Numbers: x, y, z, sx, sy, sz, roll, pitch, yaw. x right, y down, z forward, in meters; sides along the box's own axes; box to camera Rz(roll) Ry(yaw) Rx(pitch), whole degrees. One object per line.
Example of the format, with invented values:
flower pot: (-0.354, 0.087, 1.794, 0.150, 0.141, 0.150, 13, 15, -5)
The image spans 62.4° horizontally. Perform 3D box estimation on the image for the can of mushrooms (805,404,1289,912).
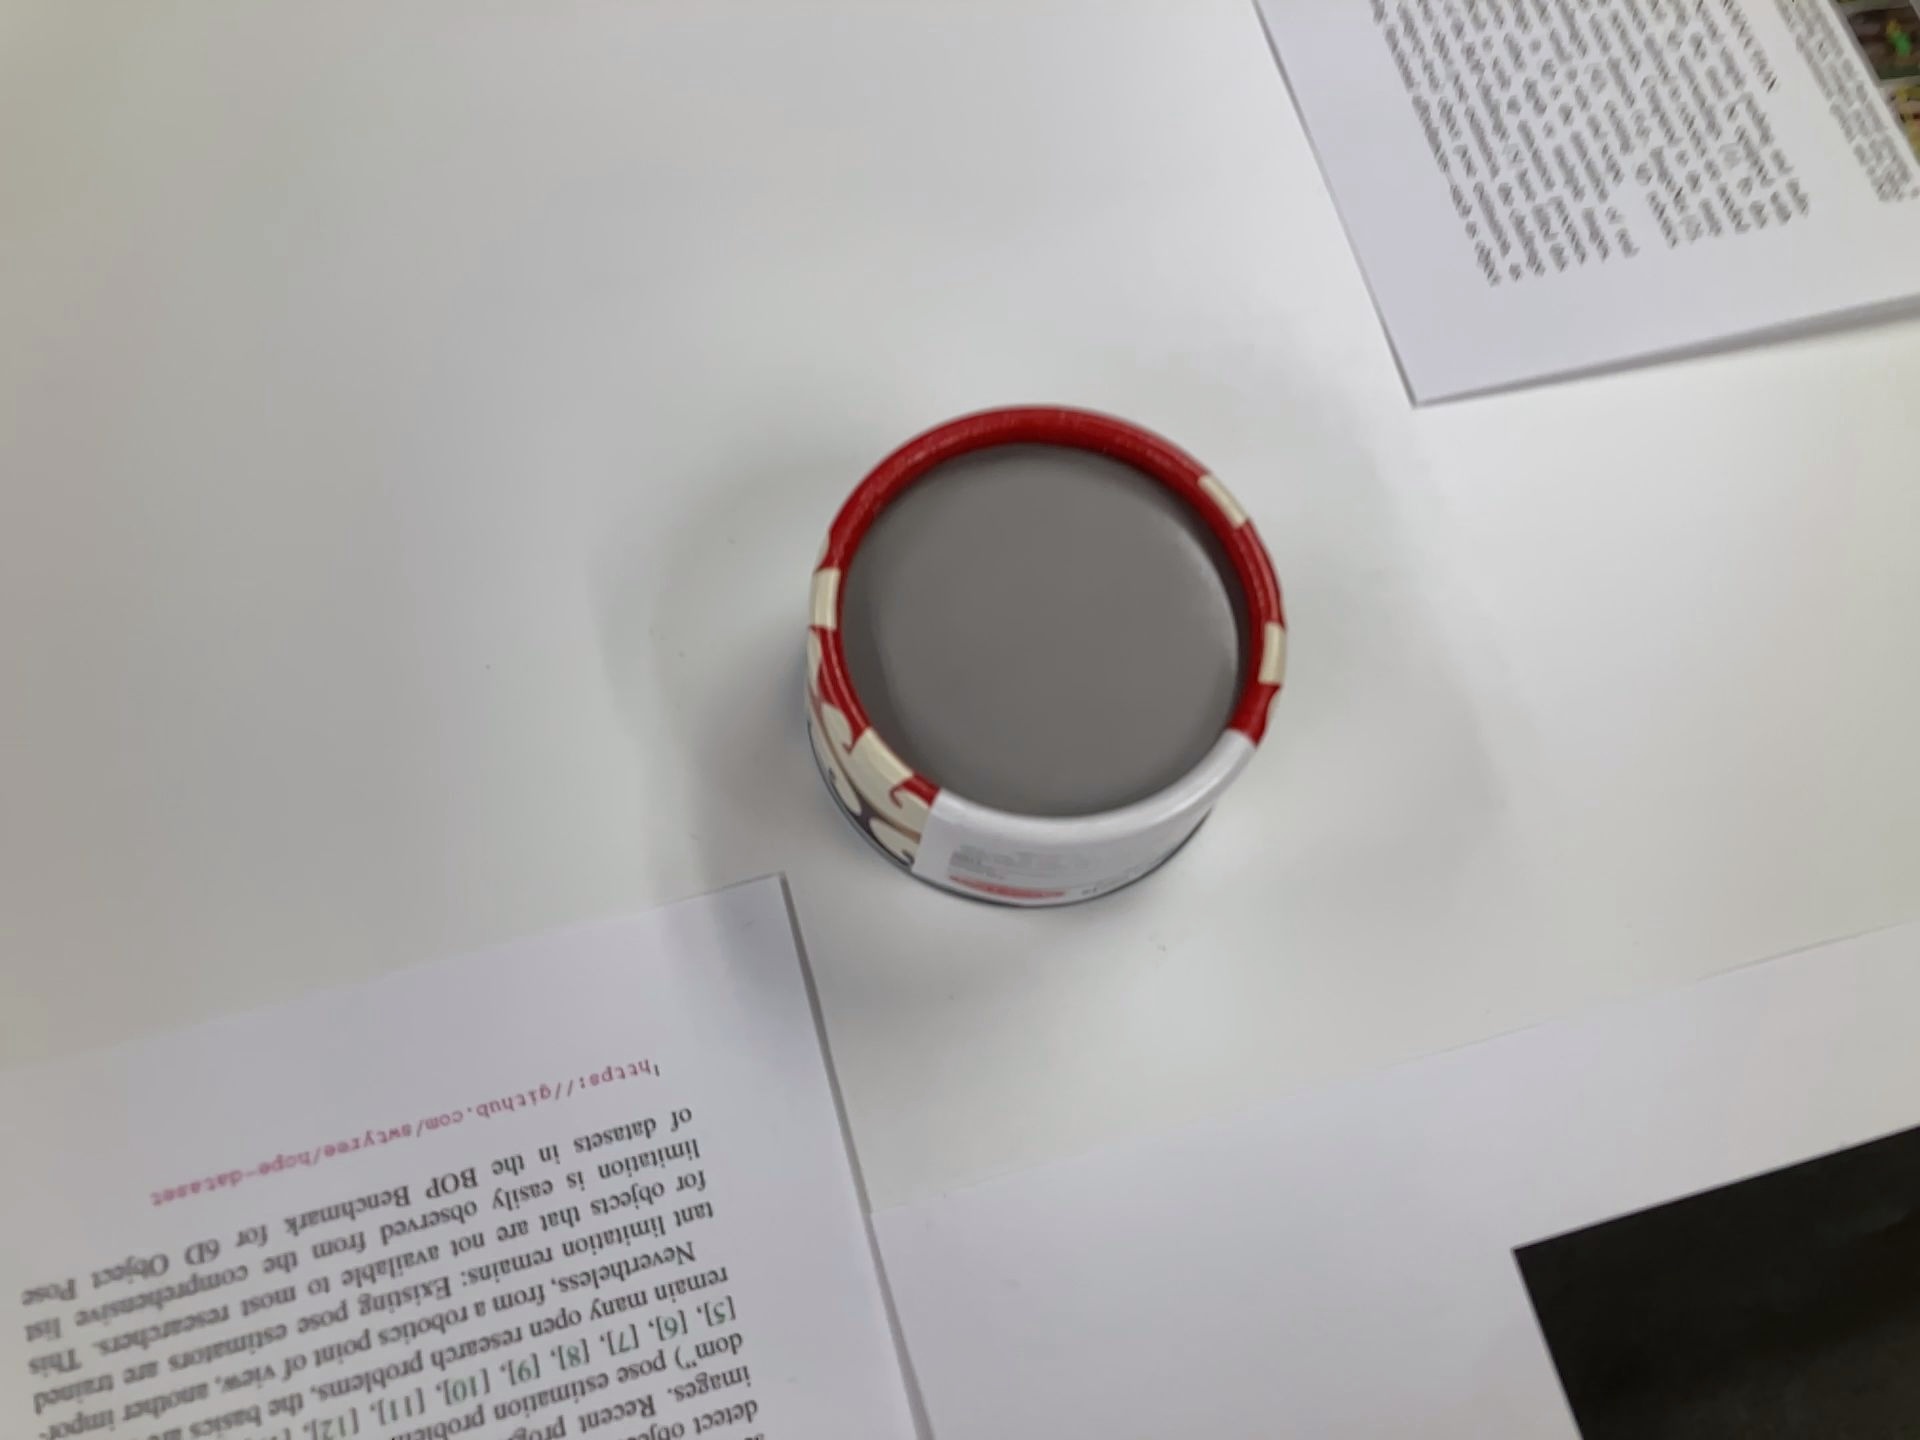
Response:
can of mushrooms: (0.010, -0.011, 0.226, 0.071, 0.033, 0.071, 1, 69, -4)
